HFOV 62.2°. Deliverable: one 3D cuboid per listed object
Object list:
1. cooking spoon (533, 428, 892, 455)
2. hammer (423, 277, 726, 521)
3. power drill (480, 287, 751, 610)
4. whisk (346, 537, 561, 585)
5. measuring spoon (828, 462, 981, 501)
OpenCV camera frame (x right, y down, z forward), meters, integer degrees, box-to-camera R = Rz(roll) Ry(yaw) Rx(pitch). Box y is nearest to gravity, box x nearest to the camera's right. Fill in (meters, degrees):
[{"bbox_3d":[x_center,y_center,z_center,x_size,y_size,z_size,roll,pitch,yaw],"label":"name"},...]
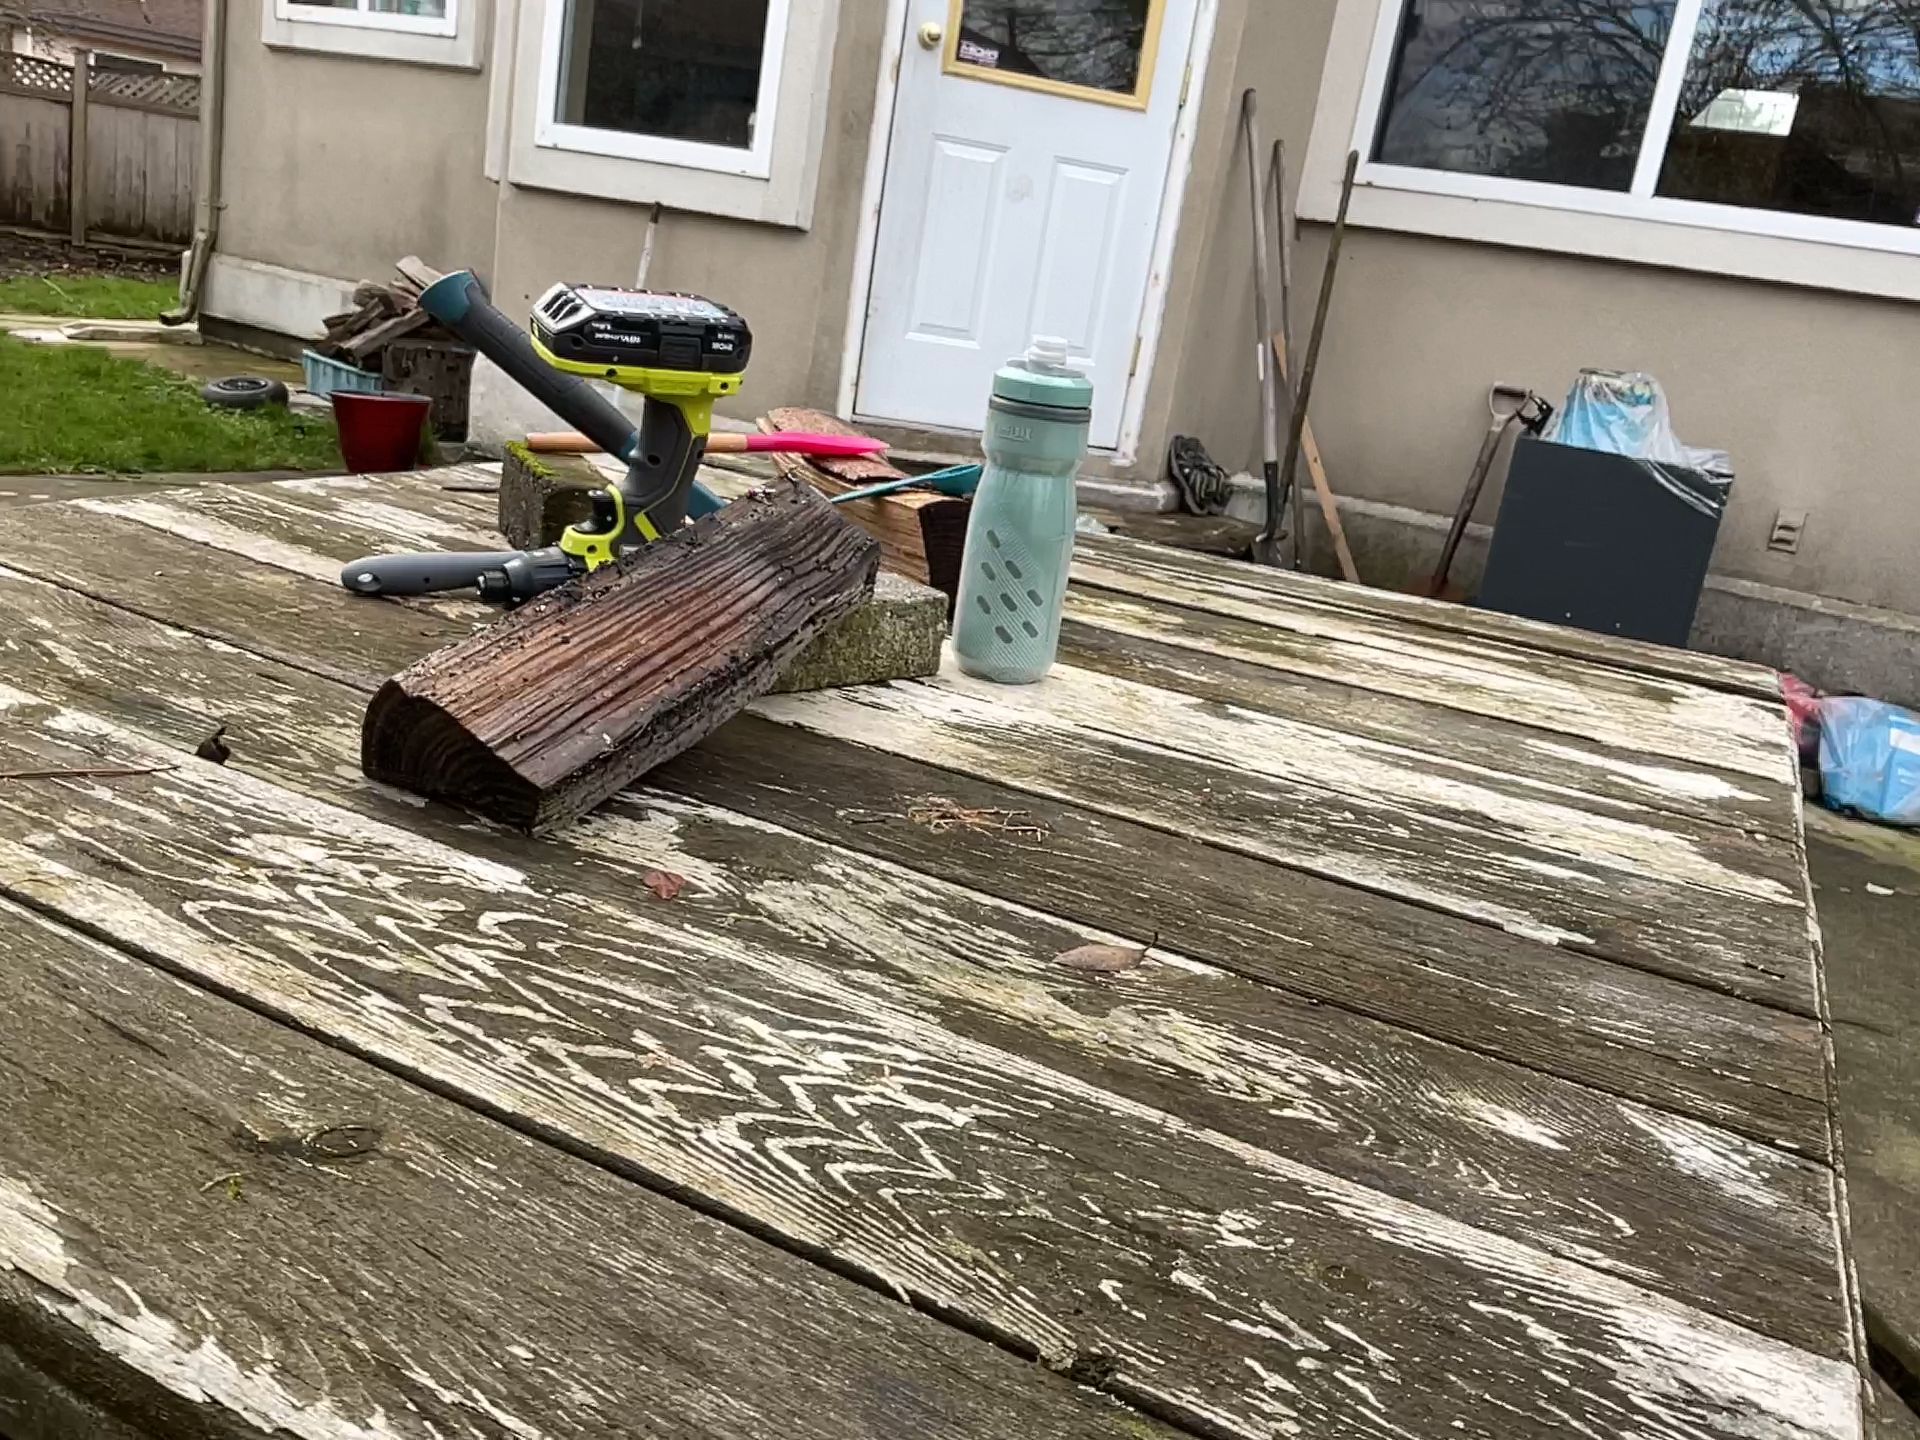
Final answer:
[{"bbox_3d":[-0.206,-0.238,1.367,0.318,0.017,0.069,-6,22,-28],"label":"cooking spoon"},{"bbox_3d":[-0.265,-0.220,1.218,0.331,0.128,0.033,40,13,-7],"label":"hammer"},{"bbox_3d":[-0.226,-0.165,1.060,0.171,0.223,0.080,-3,28,-31],"label":"power drill"},{"bbox_3d":[-0.314,-0.116,1.140,0.238,0.055,0.055,-6,14,-31],"label":"whisk"},{"bbox_3d":[-0.044,-0.184,1.284,0.128,0.021,0.042,-11,14,11],"label":"measuring spoon"}]
